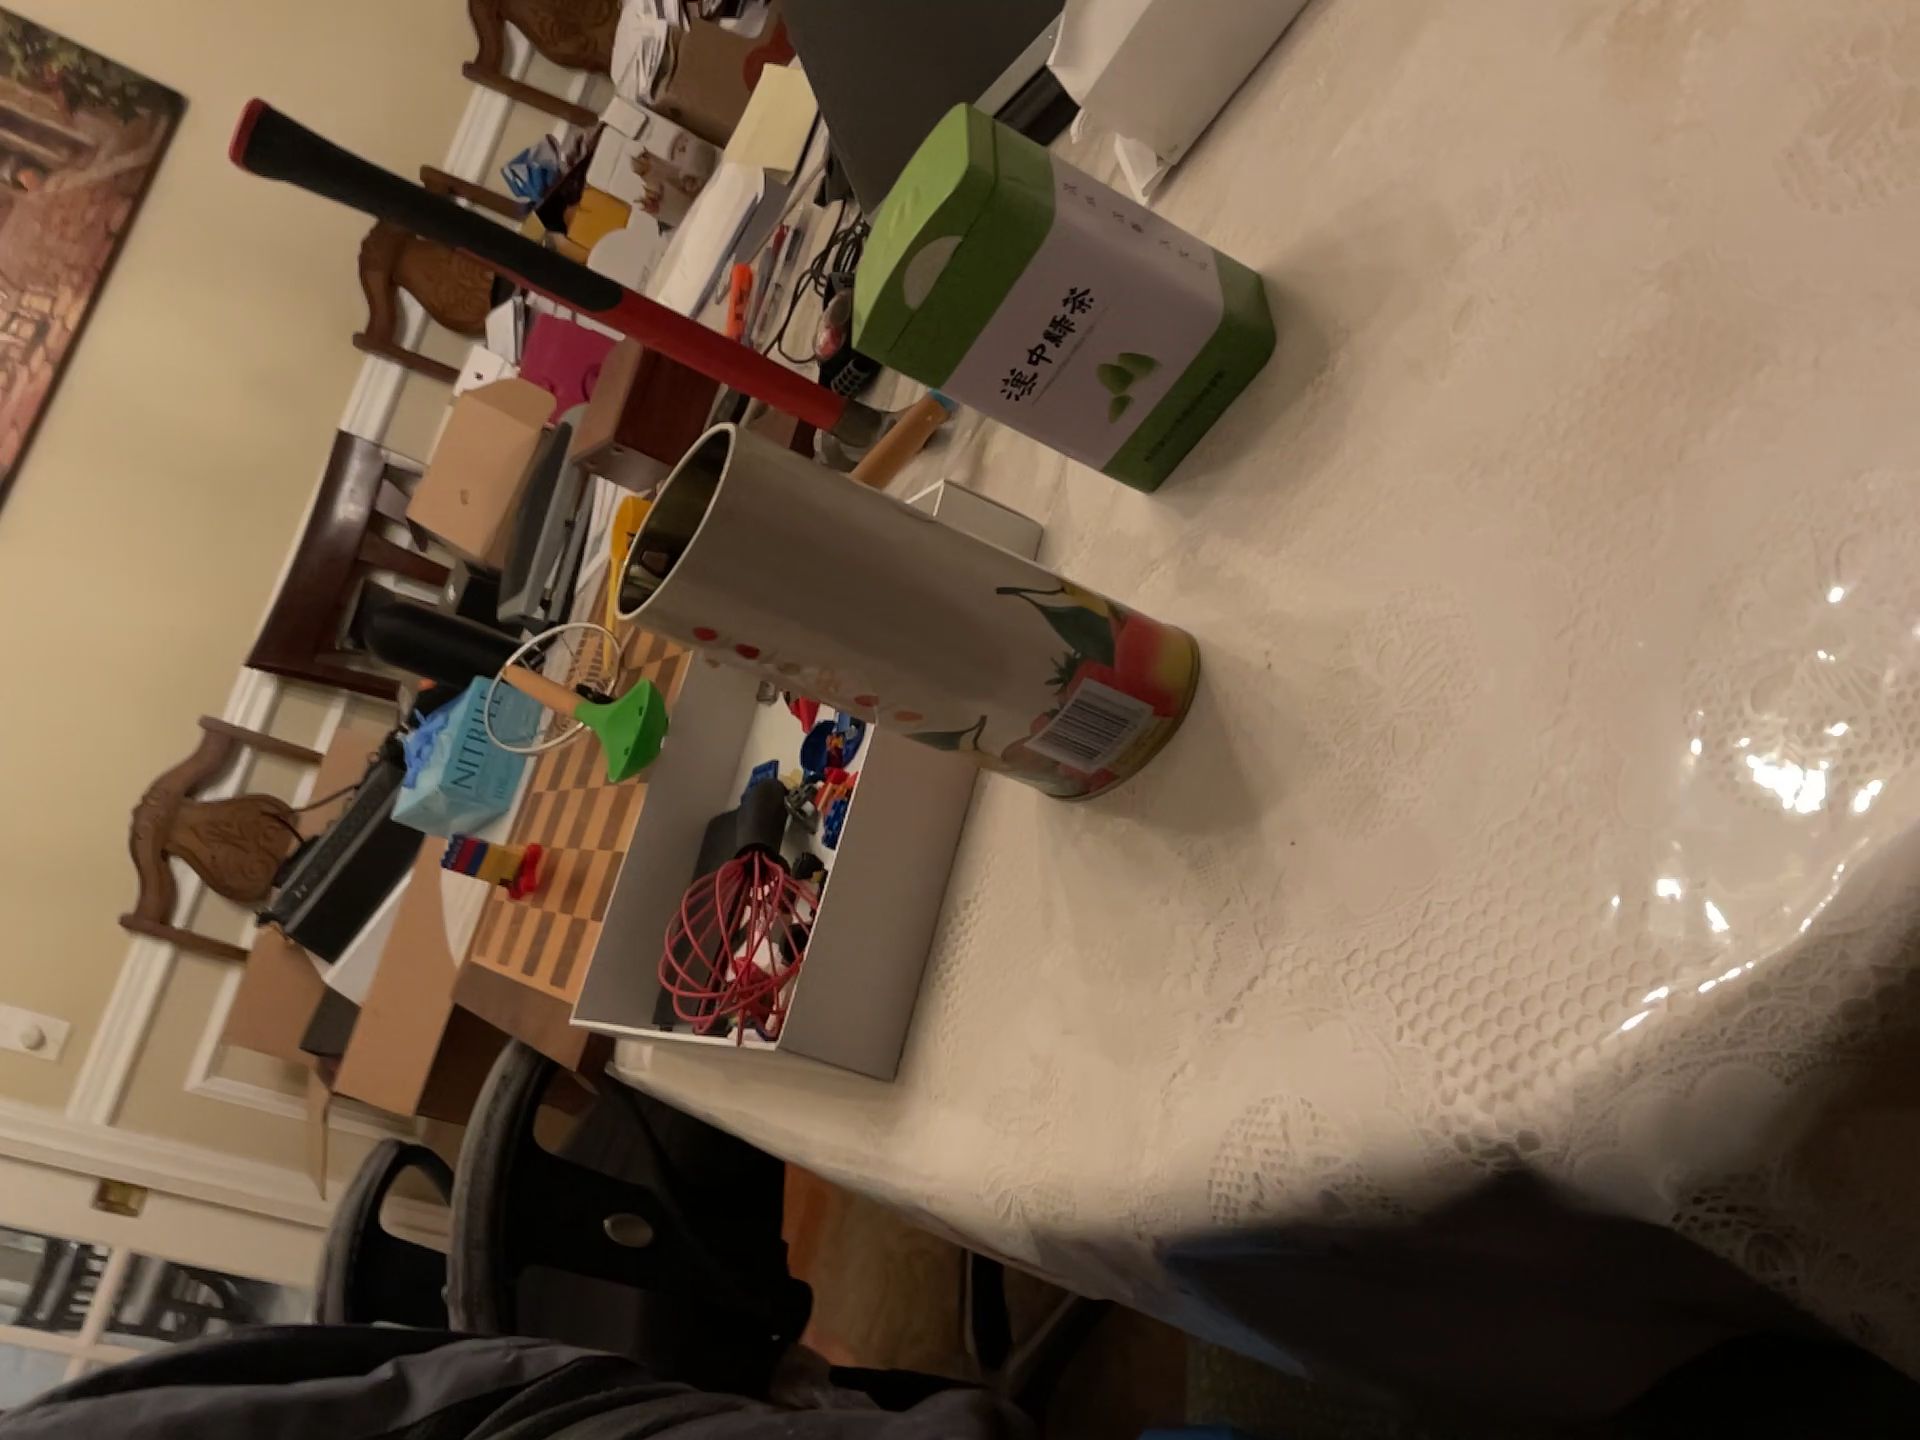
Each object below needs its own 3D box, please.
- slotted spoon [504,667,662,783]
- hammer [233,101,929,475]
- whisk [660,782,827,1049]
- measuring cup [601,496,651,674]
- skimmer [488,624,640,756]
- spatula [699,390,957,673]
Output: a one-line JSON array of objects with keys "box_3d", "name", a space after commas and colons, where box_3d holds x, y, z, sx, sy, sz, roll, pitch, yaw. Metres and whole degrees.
[{"box_3d": [-0.266, -0.011, 1.098, 0.314, 0.031, 0.070, 17, 87, 58], "name": "slotted spoon"}, {"box_3d": [-0.194, -0.234, 0.870, 0.143, 0.385, 0.038, -3, 67, 65], "name": "hammer"}, {"box_3d": [-0.098, 0.079, 0.765, 0.073, 0.073, 0.296, -45, 13, 7], "name": "whisk"}, {"box_3d": [-0.289, -0.115, 1.379, 0.062, 0.029, 0.156, -7, 76, 60], "name": "measuring cup"}, {"box_3d": [-0.270, -0.085, 1.203, 0.363, 0.090, 0.127, -45, 30, 50], "name": "skimmer"}, {"box_3d": [-0.037, -0.152, 0.822, 0.317, 0.044, 0.082, -51, 21, -15], "name": "spatula"}]
